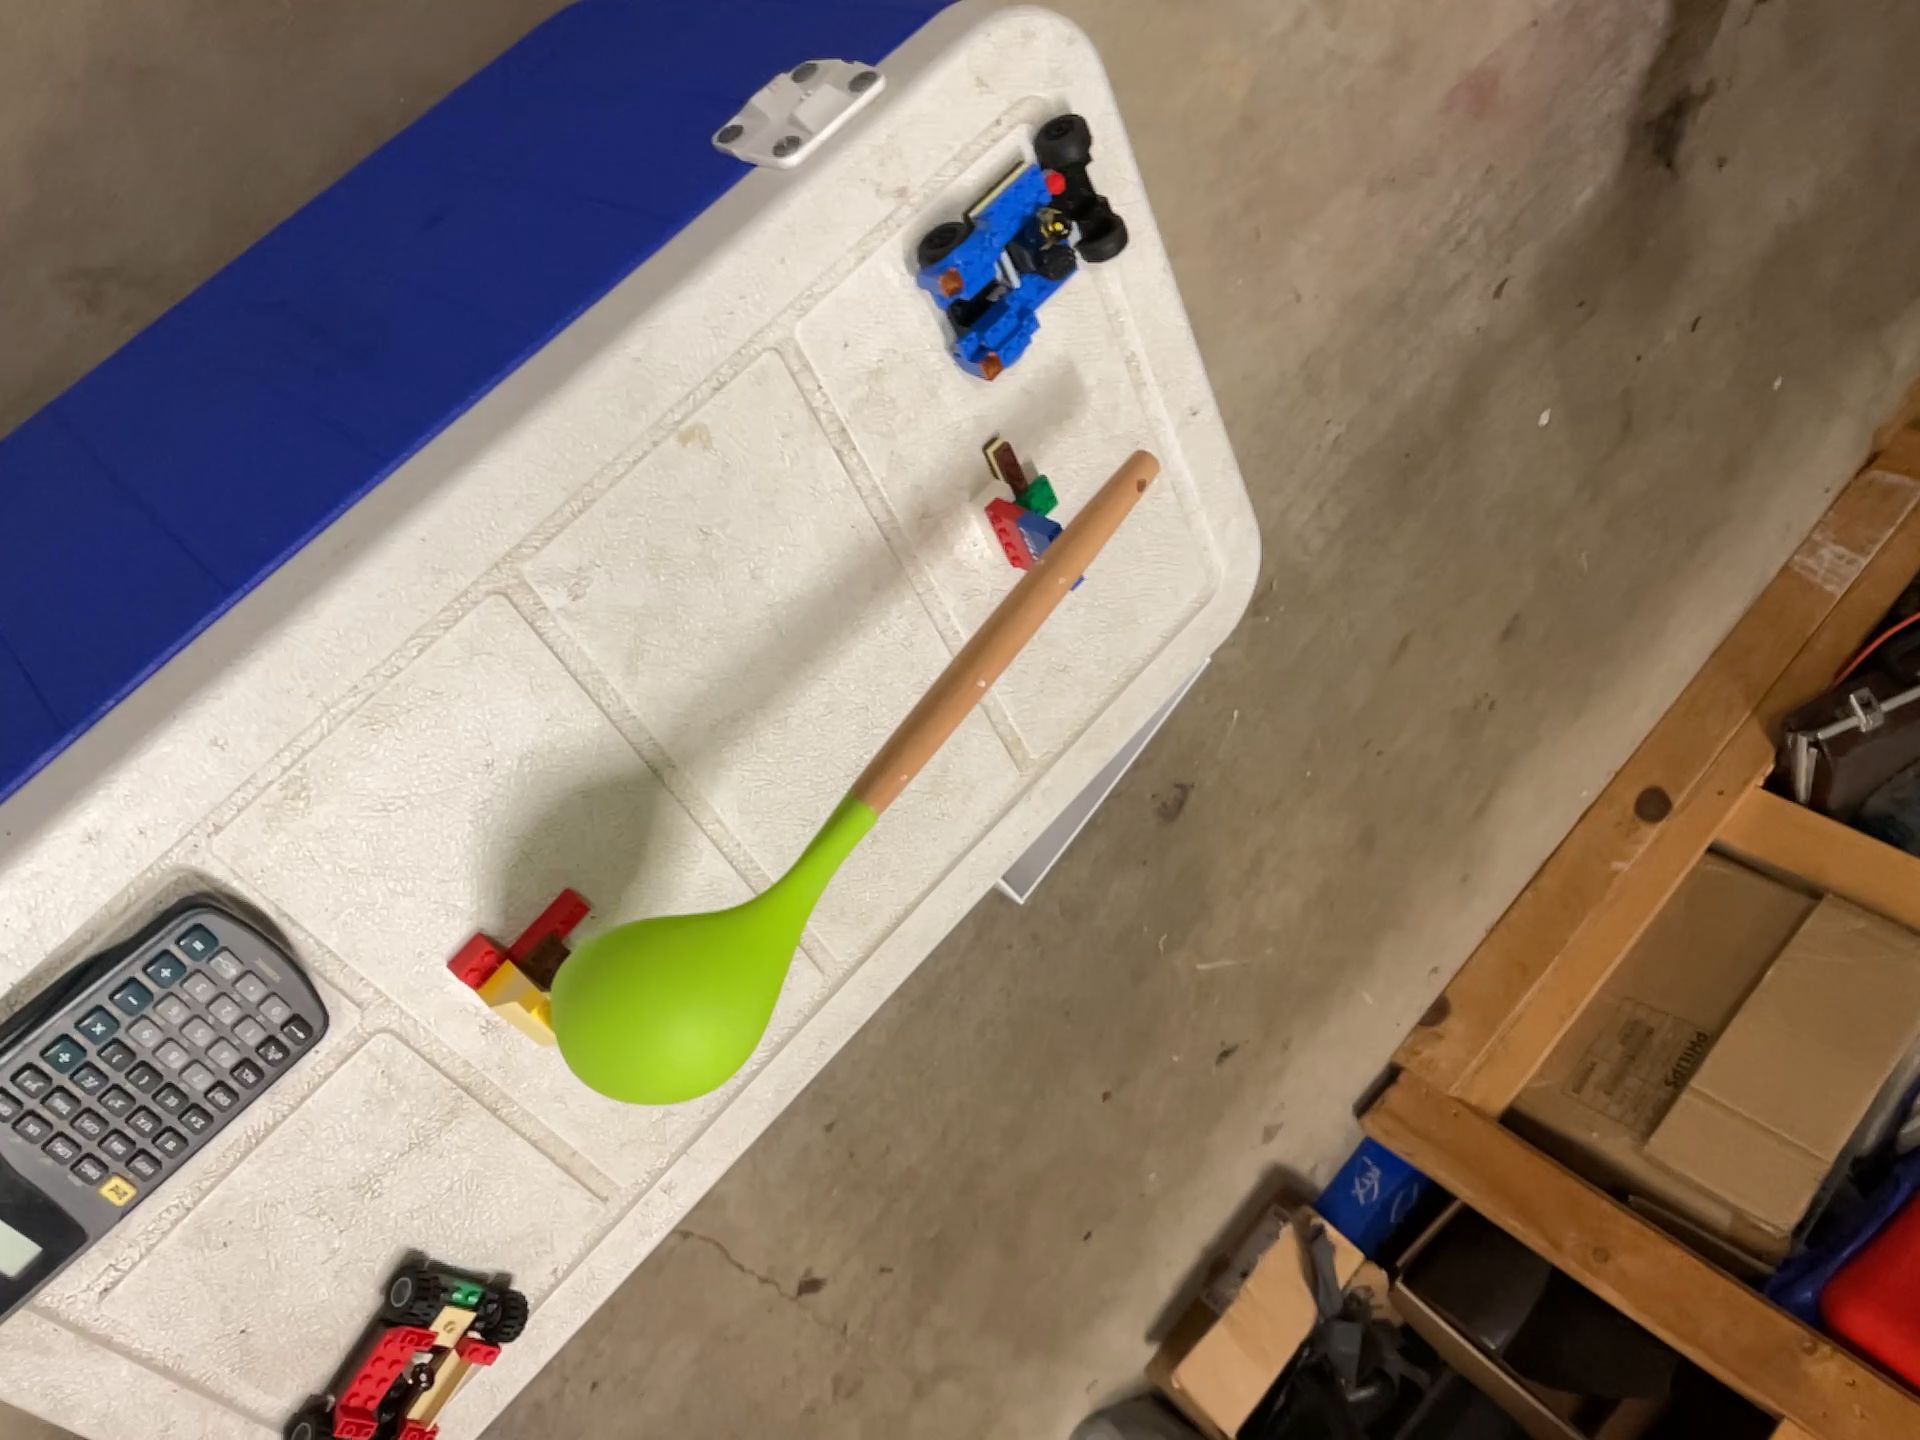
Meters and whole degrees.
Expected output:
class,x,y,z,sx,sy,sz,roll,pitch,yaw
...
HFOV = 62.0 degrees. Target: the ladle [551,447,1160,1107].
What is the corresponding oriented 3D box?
class,x,y,z,sx,sy,sz,roll,pitch,yaw
ladle,-0.028,0.009,0.597,0.320,0.062,0.078,-51,131,-19
